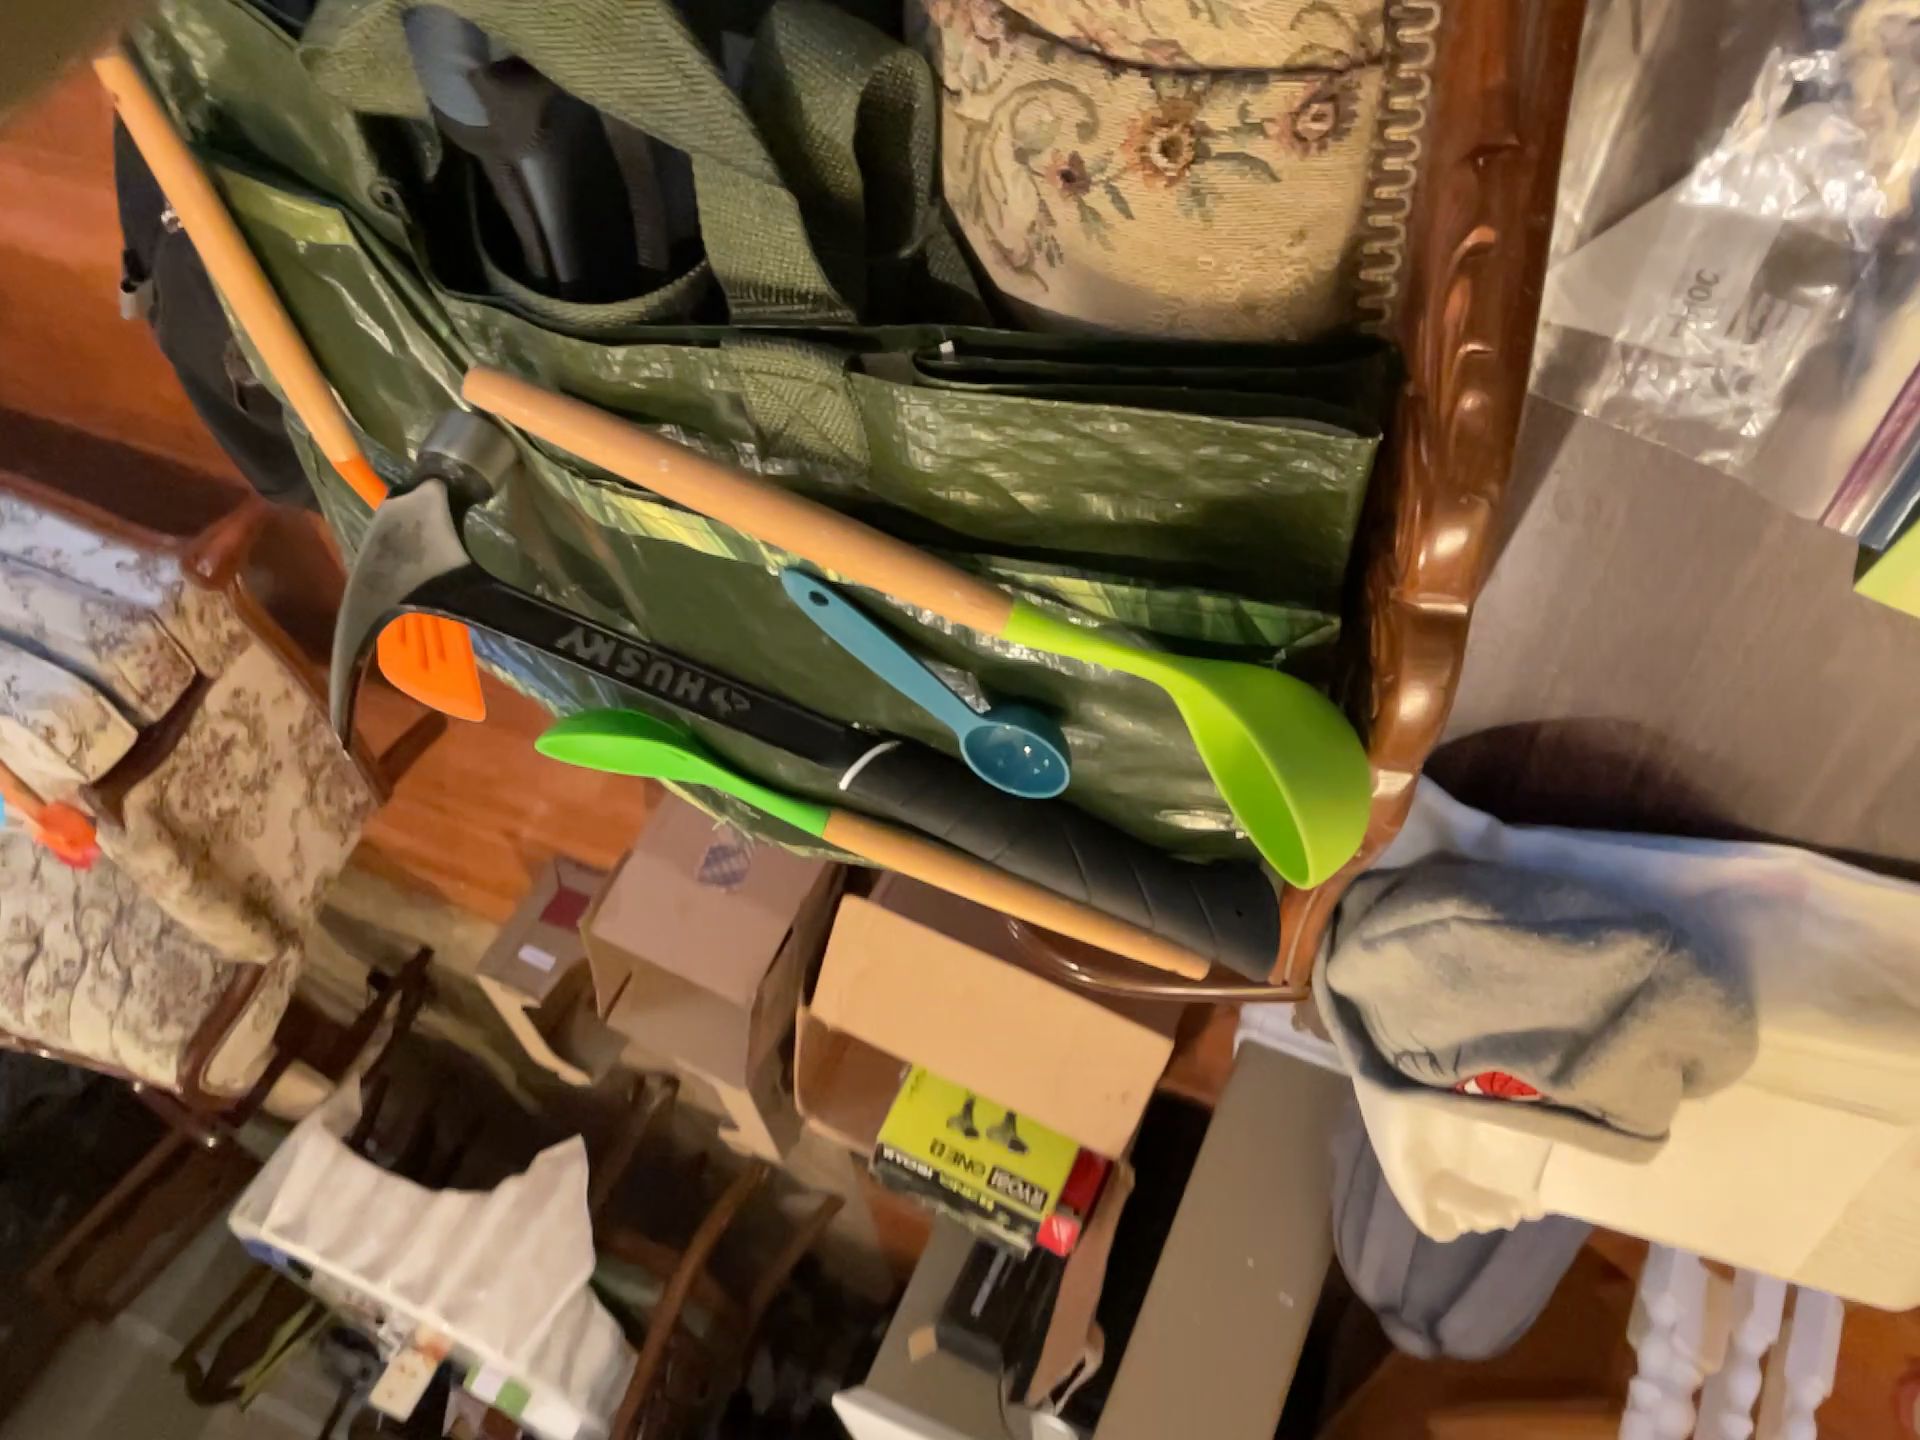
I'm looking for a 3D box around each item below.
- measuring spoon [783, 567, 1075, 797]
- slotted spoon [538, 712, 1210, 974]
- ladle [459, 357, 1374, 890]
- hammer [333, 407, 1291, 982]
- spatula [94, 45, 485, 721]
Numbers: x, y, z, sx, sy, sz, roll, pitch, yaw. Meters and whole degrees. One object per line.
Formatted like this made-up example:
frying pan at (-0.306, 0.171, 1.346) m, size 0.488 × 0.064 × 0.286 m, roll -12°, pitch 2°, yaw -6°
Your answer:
measuring spoon at (-0.008, -0.018, 0.561) m, size 0.128 × 0.021 × 0.042 m, roll 39°, pitch 145°, yaw -17°
slotted spoon at (-0.035, 0.055, 0.713) m, size 0.313 × 0.031 × 0.070 m, roll 20°, pitch 164°, yaw -2°
ladle at (-0.013, -0.034, 0.506) m, size 0.320 × 0.062 × 0.078 m, roll 24°, pitch 174°, yaw -3°
hammer at (-0.054, 0.014, 0.644) m, size 0.409 × 0.149 × 0.036 m, roll 23°, pitch 157°, yaw -2°
spatula at (-0.285, -0.129, 0.689) m, size 0.081 × 0.041 × 0.322 m, roll 19°, pitch 145°, yaw 31°
